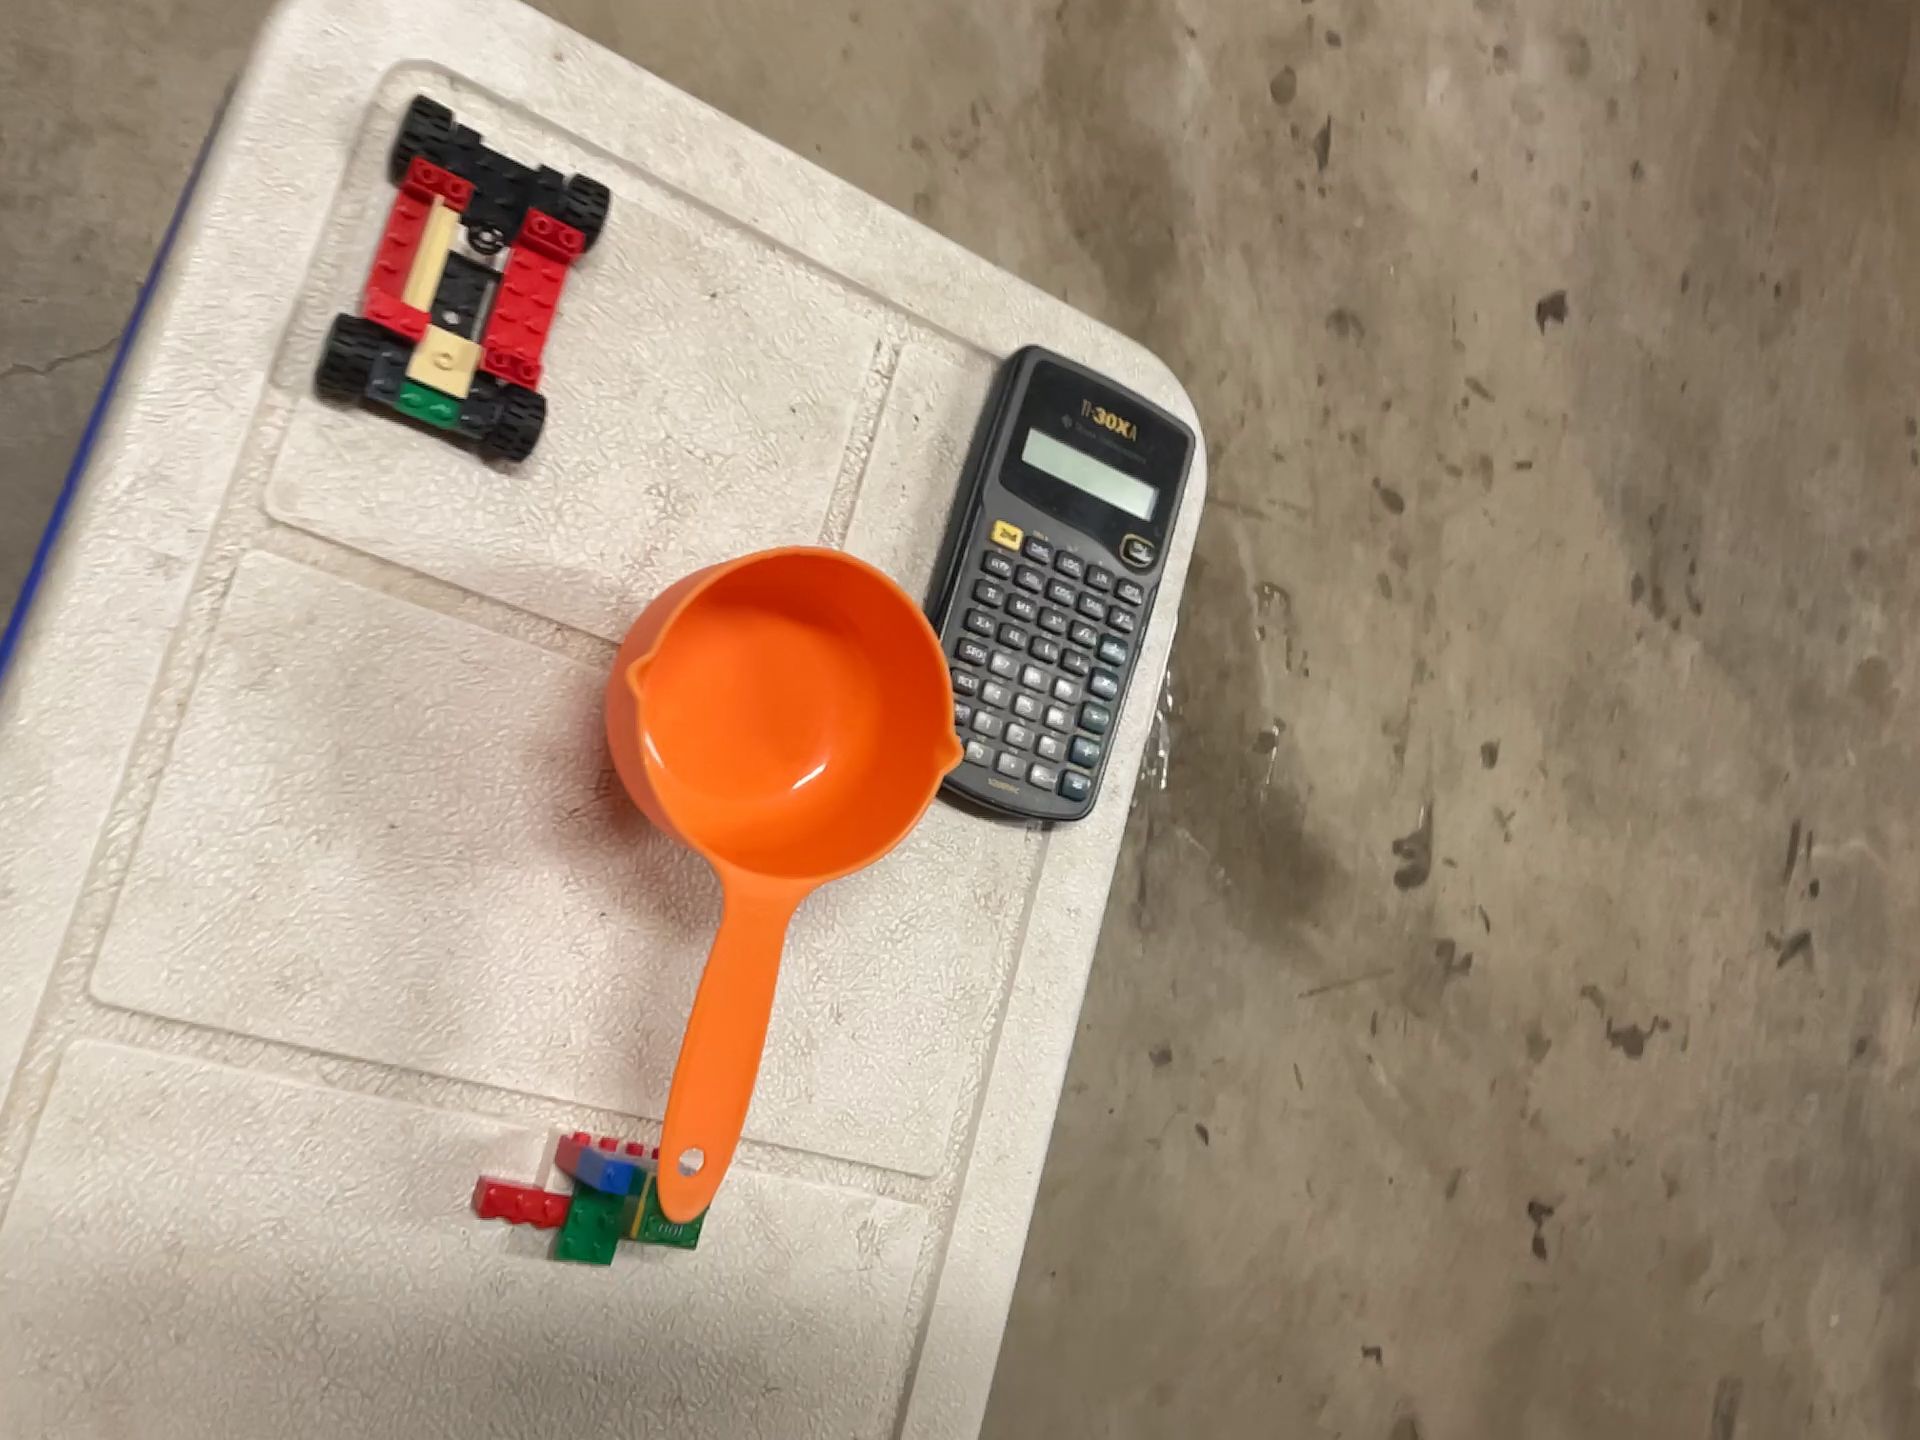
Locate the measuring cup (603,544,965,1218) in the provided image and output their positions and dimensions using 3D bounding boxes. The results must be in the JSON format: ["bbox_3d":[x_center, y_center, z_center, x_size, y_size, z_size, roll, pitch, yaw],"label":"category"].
[{"bbox_3d":[-0.061,0.039,0.426,0.095,0.052,0.173,15,86,-29],"label":"measuring cup"}]
